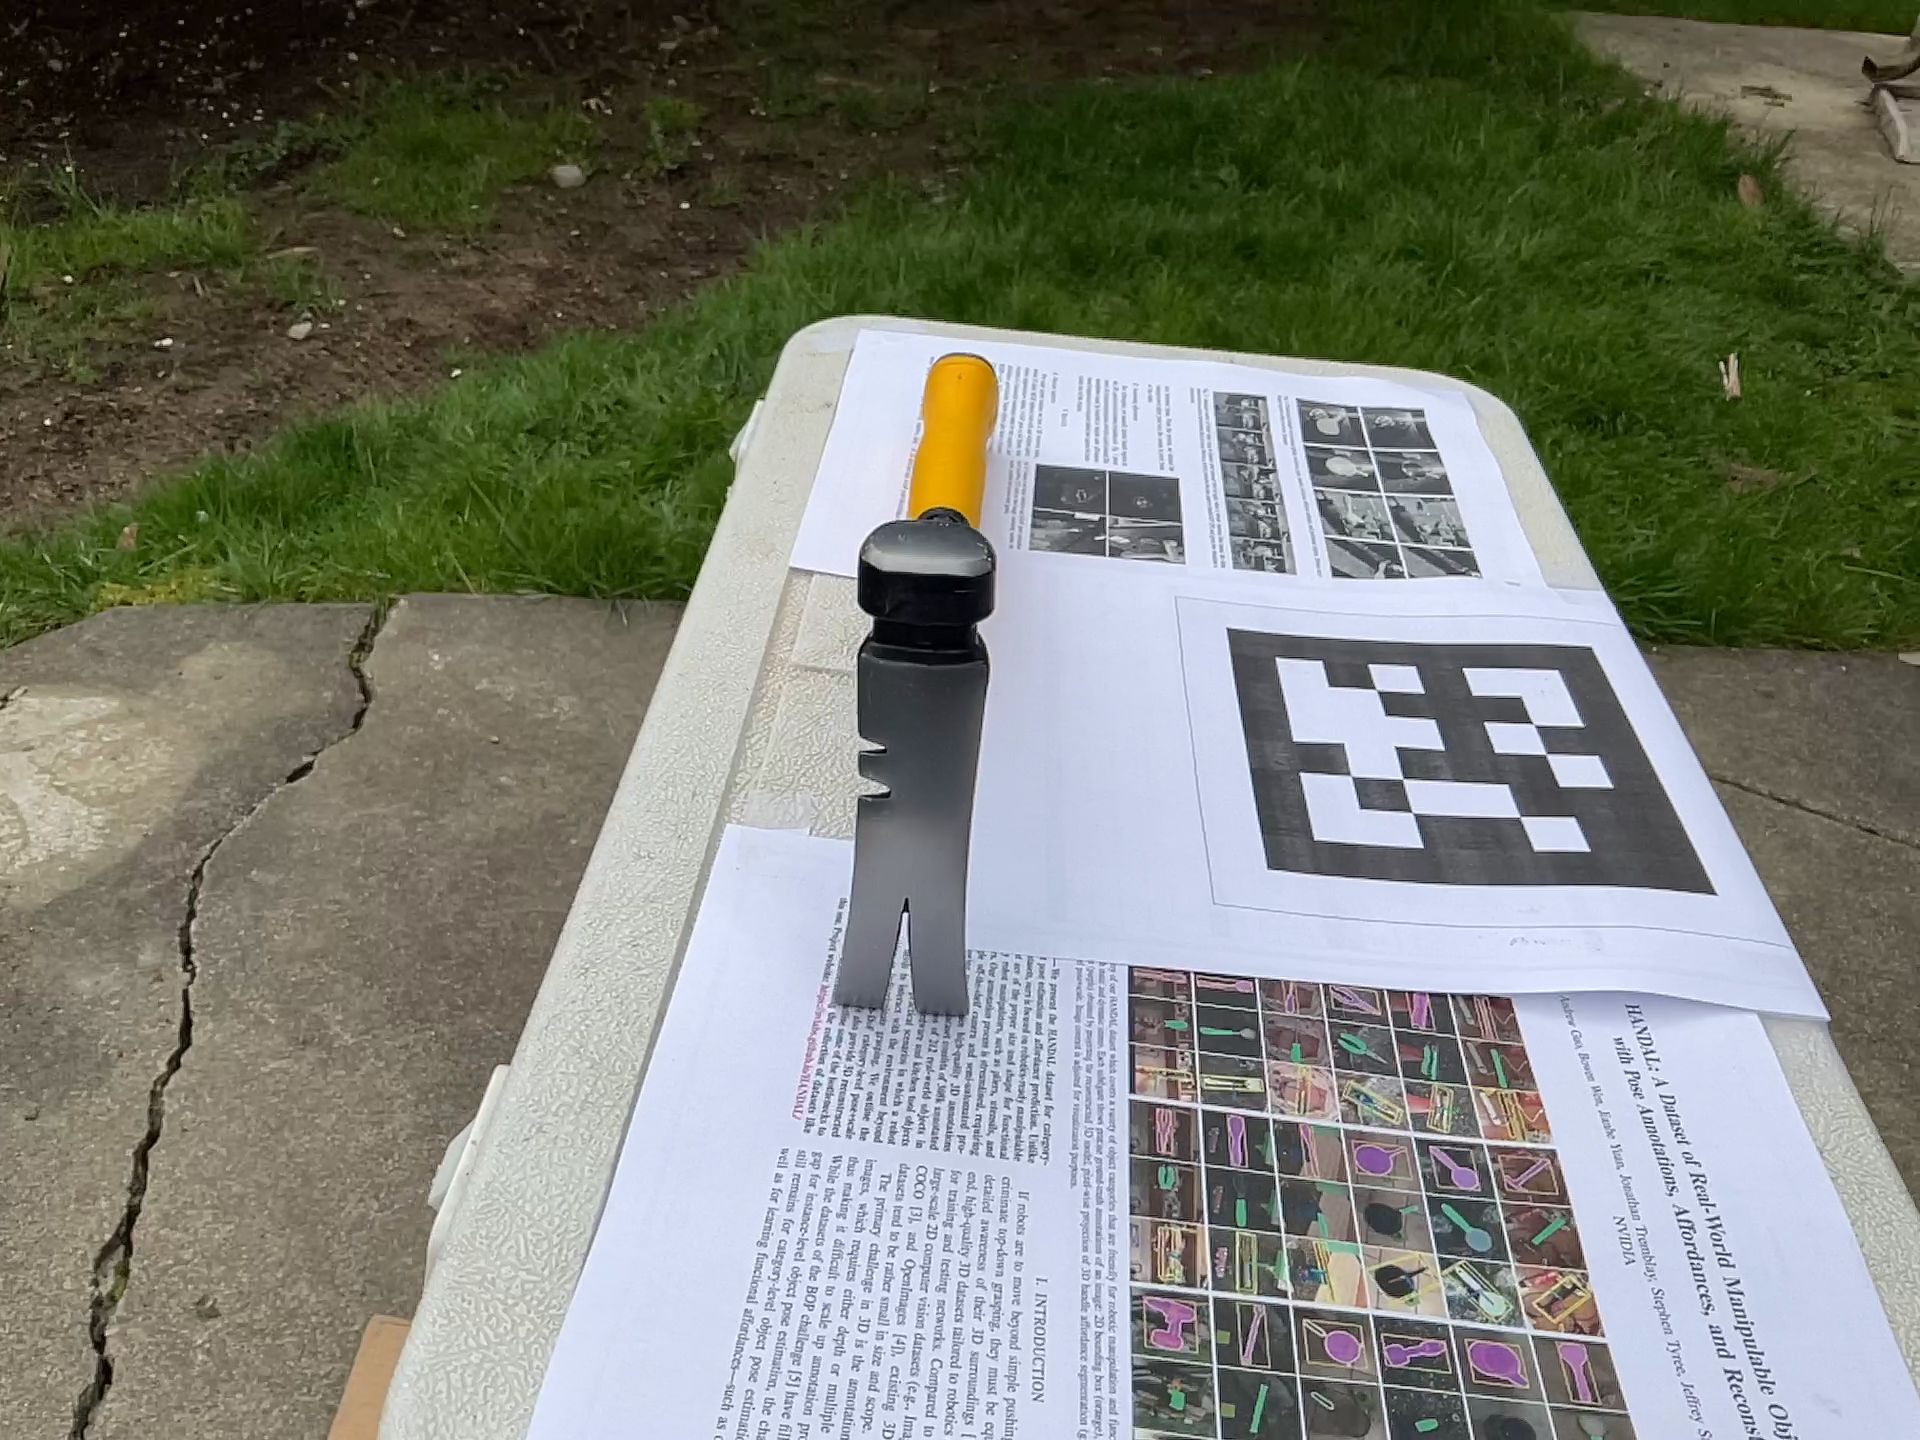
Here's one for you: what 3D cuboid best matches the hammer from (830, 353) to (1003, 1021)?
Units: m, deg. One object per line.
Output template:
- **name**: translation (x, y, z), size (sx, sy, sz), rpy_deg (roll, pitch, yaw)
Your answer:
- **hammer**: translation (-0.005, -0.050, 0.512), size (0.034, 0.127, 0.337), rpy_deg (5, 26, 0)
